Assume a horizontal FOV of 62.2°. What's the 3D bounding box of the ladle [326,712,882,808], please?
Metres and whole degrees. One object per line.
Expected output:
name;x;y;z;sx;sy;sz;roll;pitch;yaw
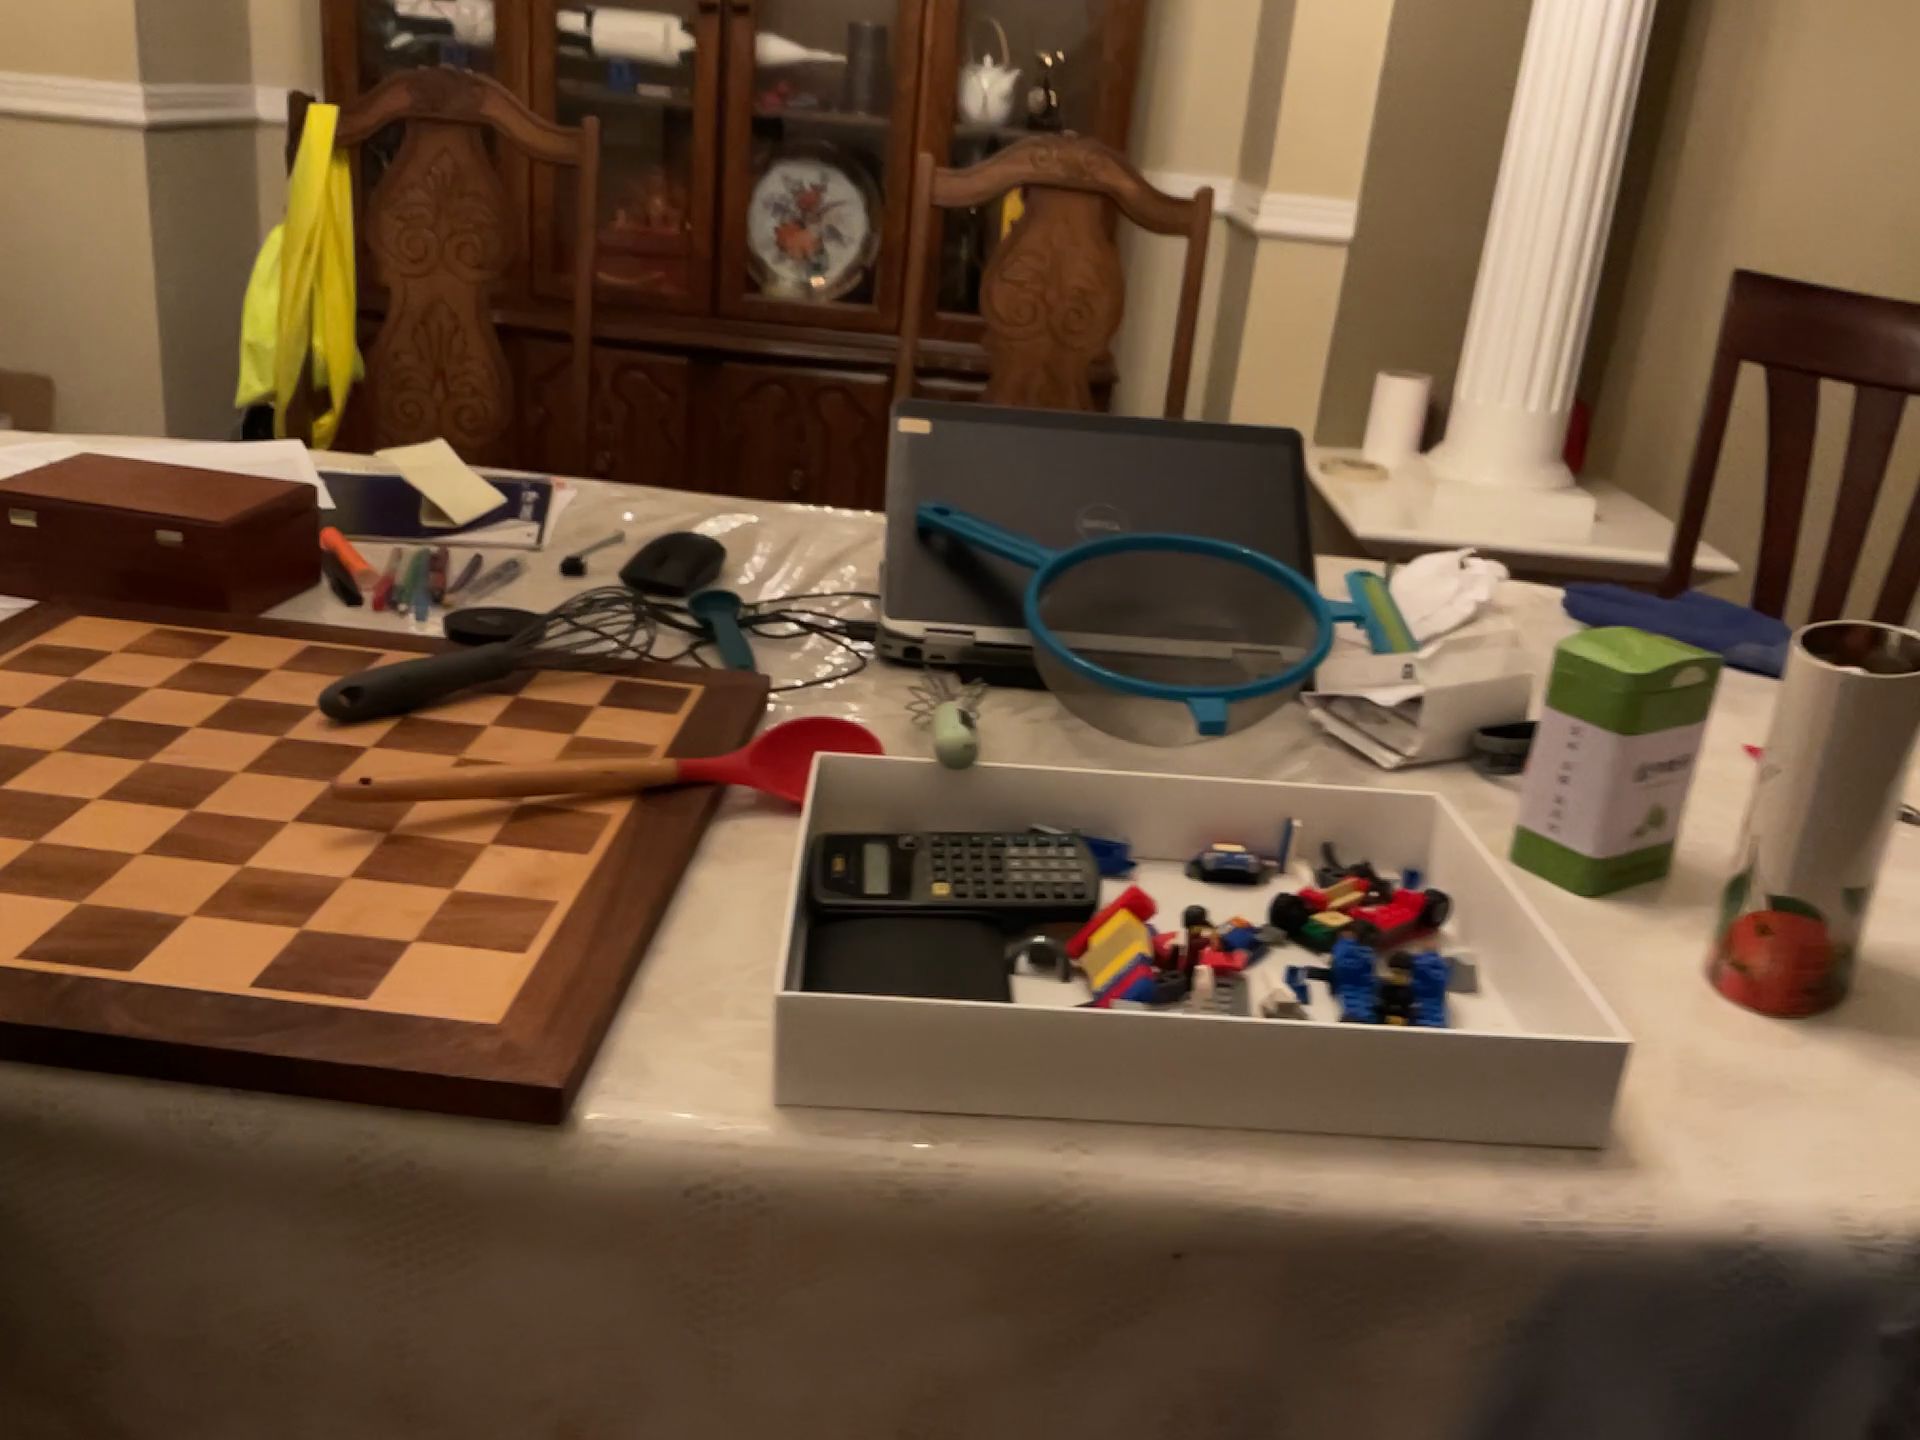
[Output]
ladle;-0.184;0.030;0.879;0.315;0.031;0.069;-4;44;-35

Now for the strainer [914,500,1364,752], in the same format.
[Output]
strainer;0.097;-0.066;1.135;0.341;0.095;0.211;26;42;32

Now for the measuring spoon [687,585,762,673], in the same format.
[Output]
measuring spoon;-0.170;-0.060;1.177;0.042;0.021;0.129;-11;38;-19

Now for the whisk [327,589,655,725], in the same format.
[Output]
whisk;-0.290;-0.037;1.011;0.055;0.055;0.238;6;21;42

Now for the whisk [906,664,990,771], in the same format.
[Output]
whisk;-0.004;0.000;0.964;0.059;0.058;0.246;-25;8;1
